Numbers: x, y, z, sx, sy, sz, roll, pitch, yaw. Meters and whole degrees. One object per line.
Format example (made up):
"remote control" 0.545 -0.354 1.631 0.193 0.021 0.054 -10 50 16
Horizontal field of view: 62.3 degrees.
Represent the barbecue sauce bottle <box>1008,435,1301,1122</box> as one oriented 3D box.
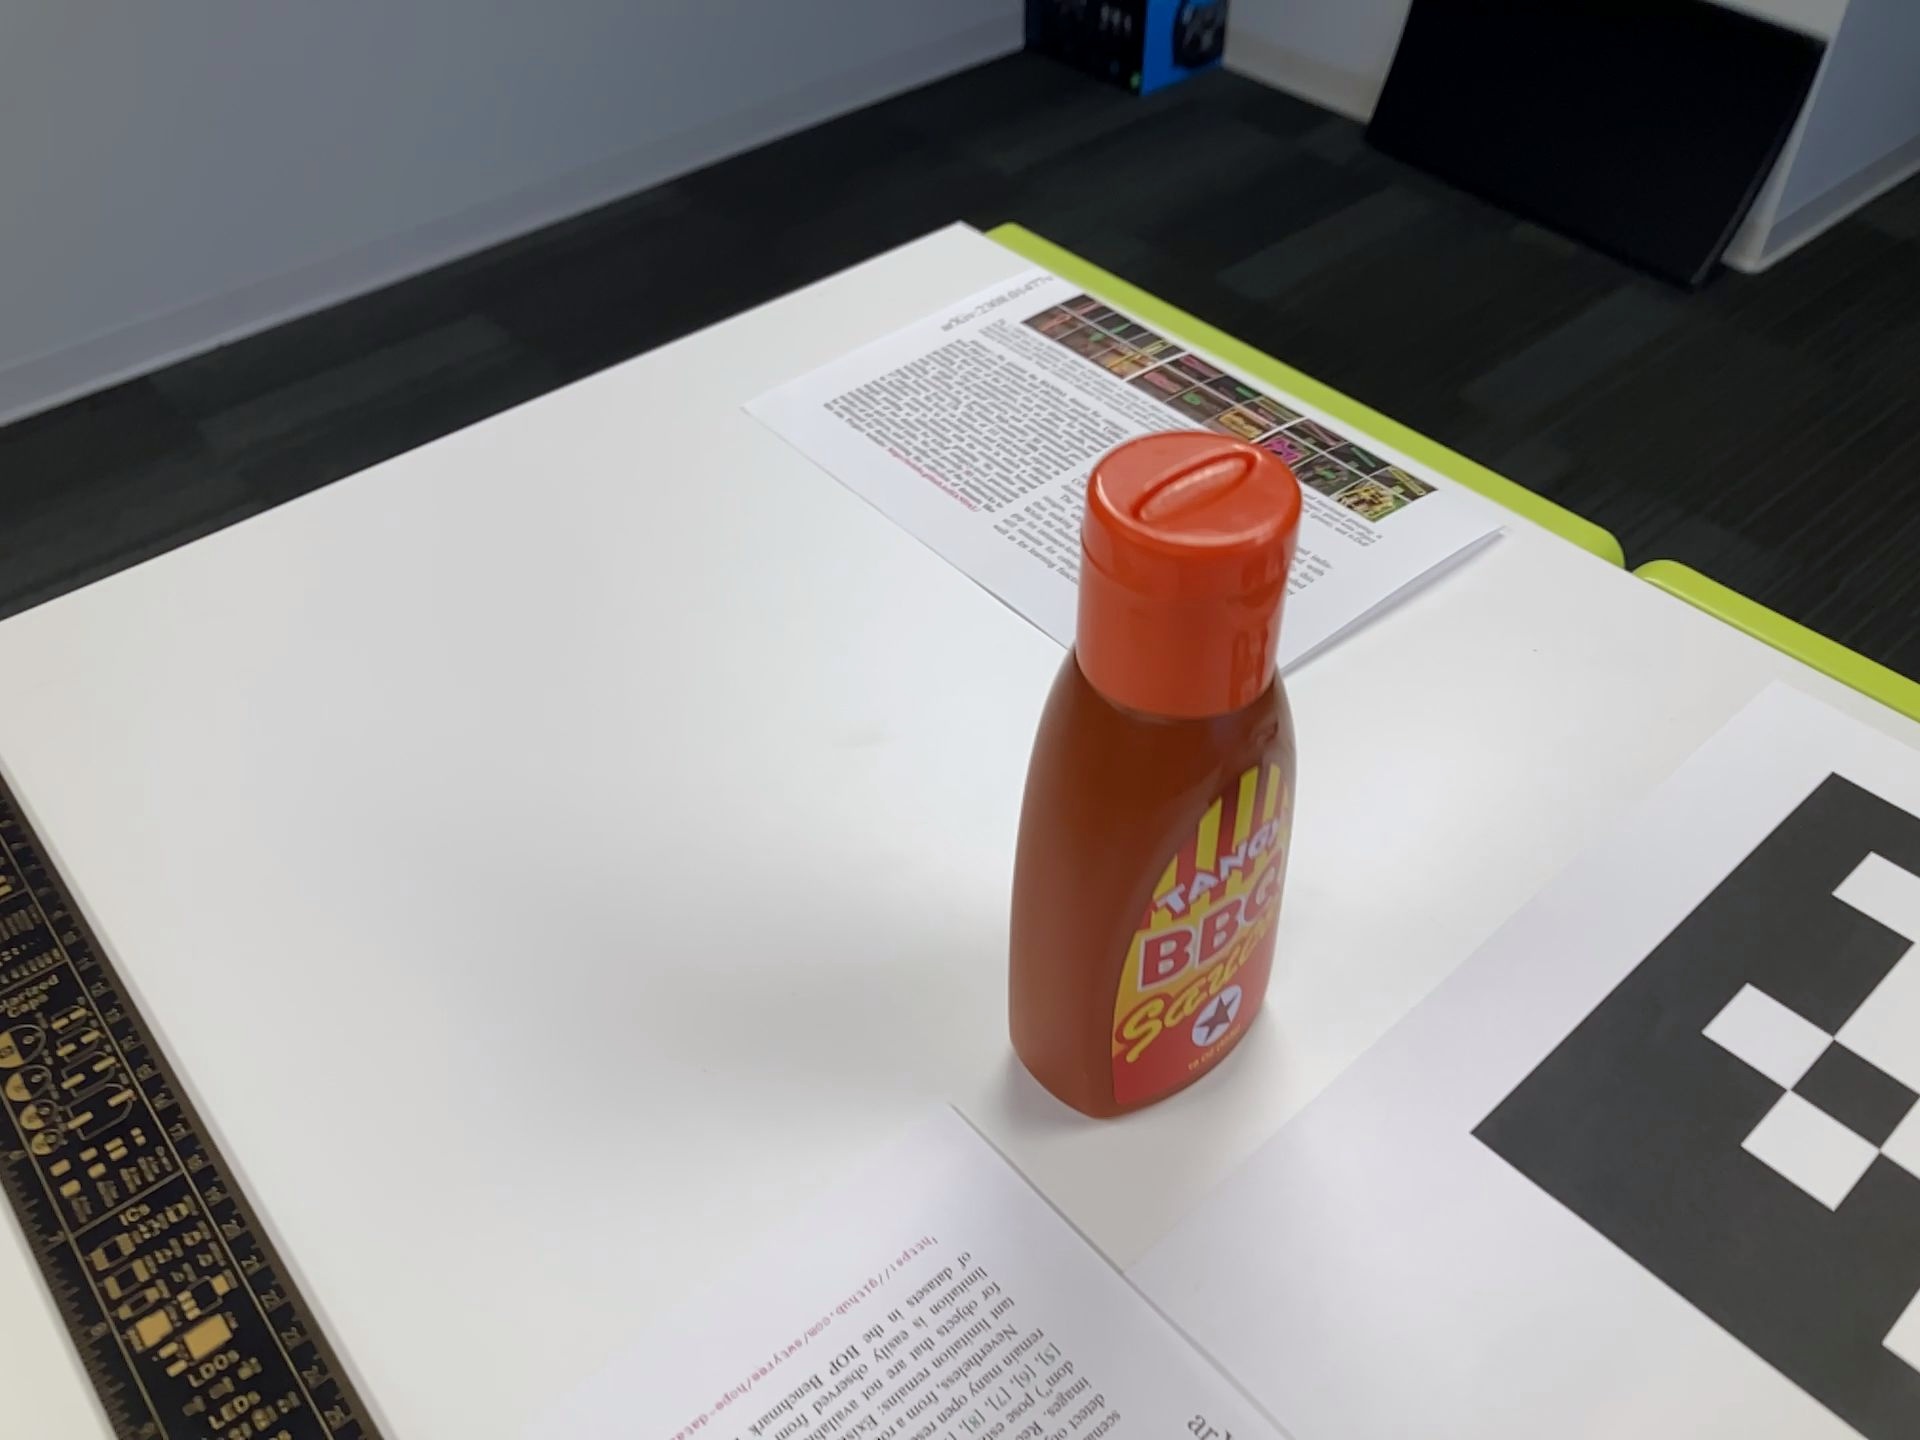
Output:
"barbecue sauce bottle" 0.040 0.015 0.316 0.065 0.148 0.043 -30 50 -28
